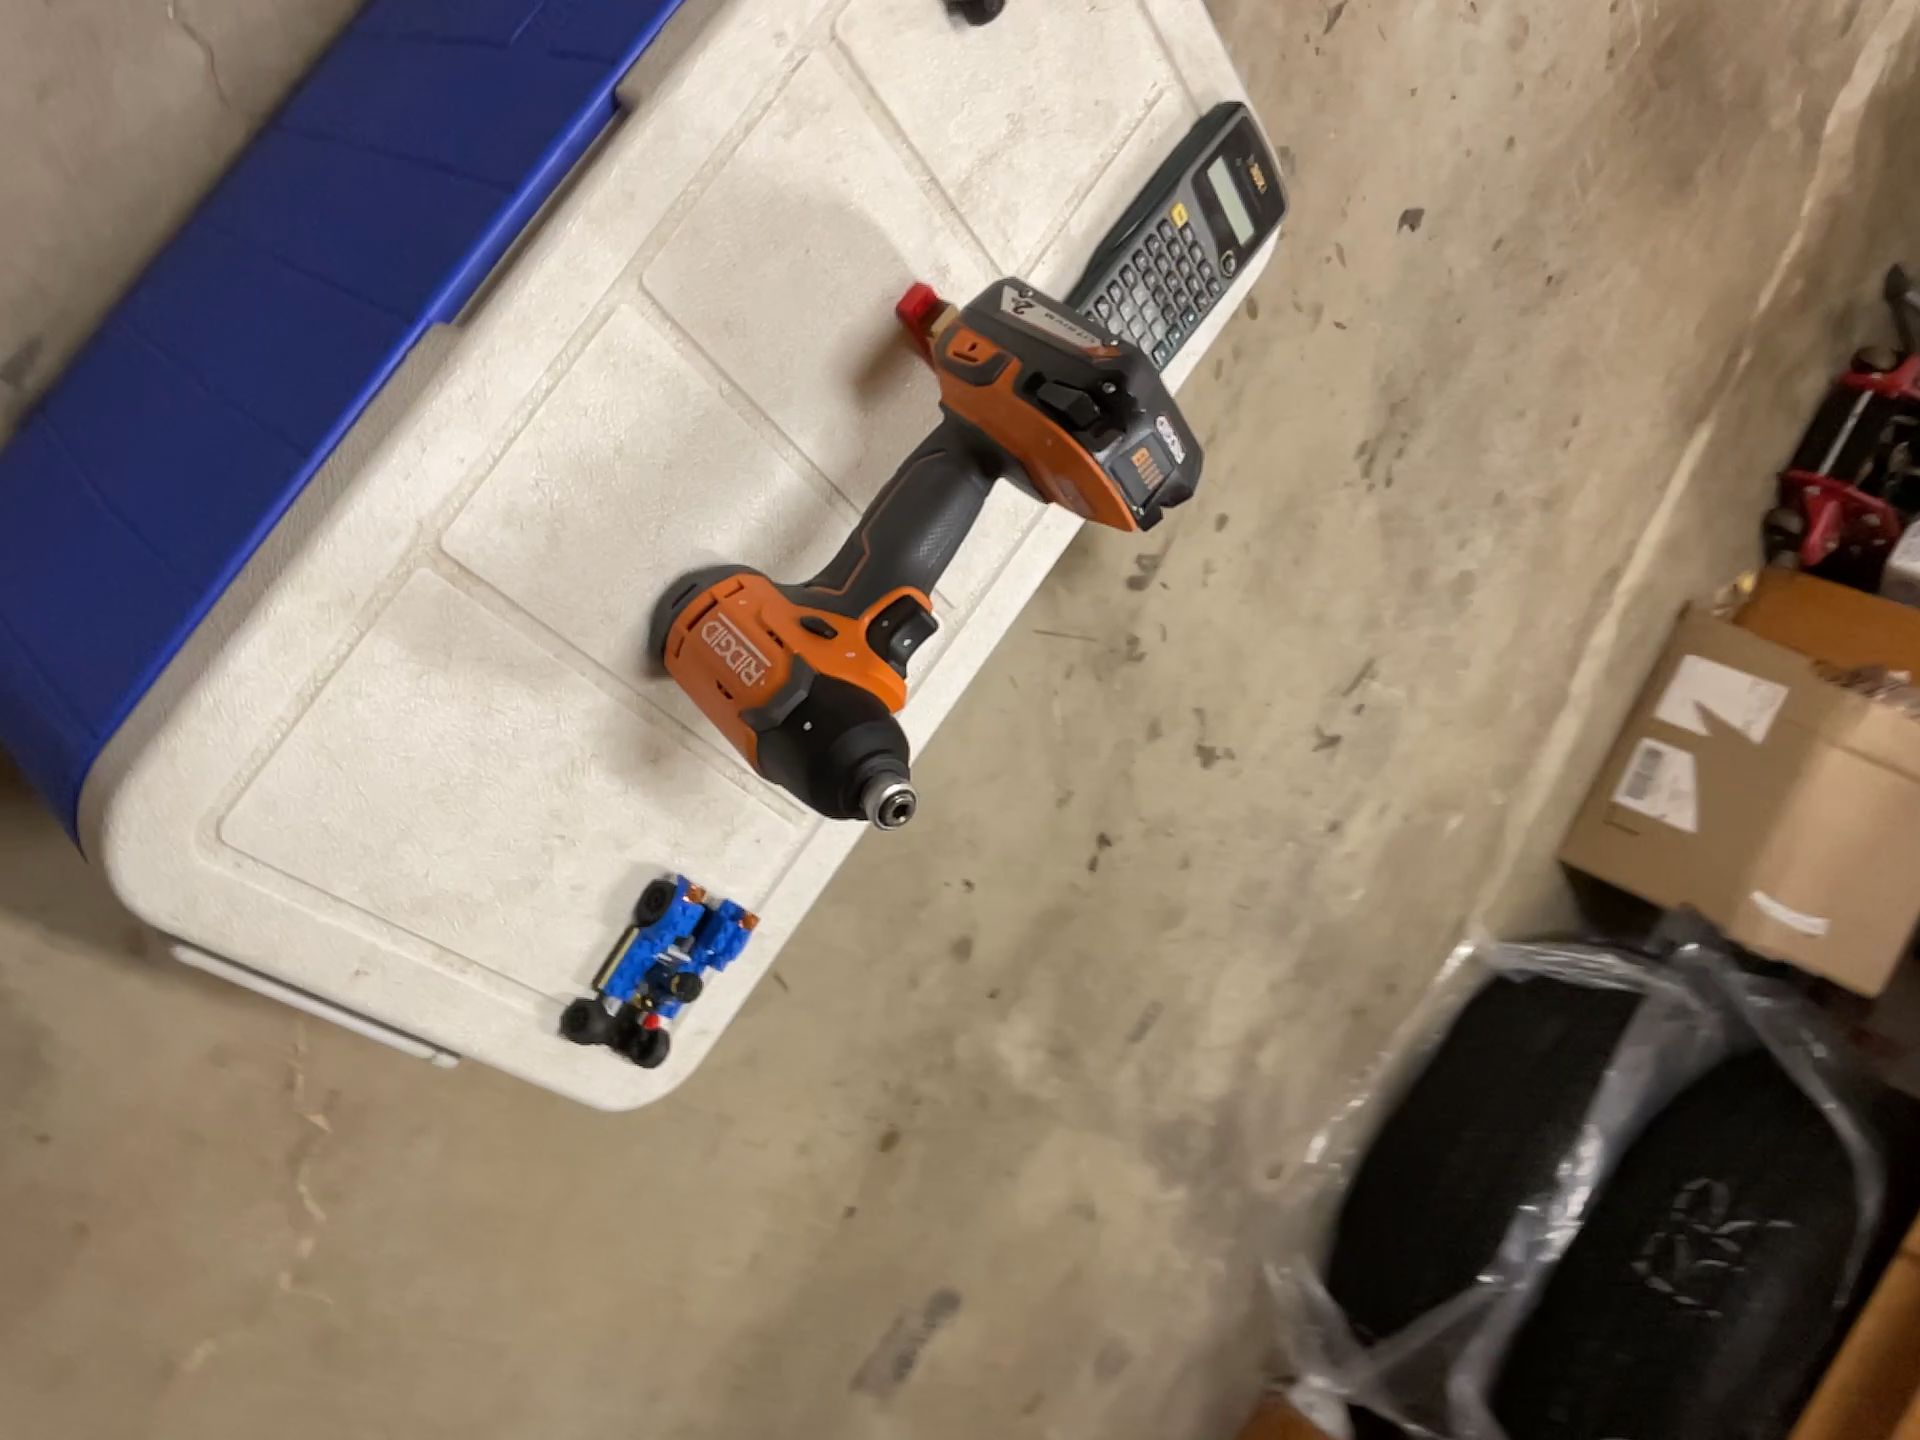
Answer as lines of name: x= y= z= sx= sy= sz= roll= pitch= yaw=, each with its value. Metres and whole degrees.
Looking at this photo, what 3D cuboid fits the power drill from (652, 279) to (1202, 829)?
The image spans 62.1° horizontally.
power drill: x=-0.010 y=-0.064 z=0.667 sx=0.226 sy=0.164 sz=0.084 roll=-45 pitch=138 yaw=-2
